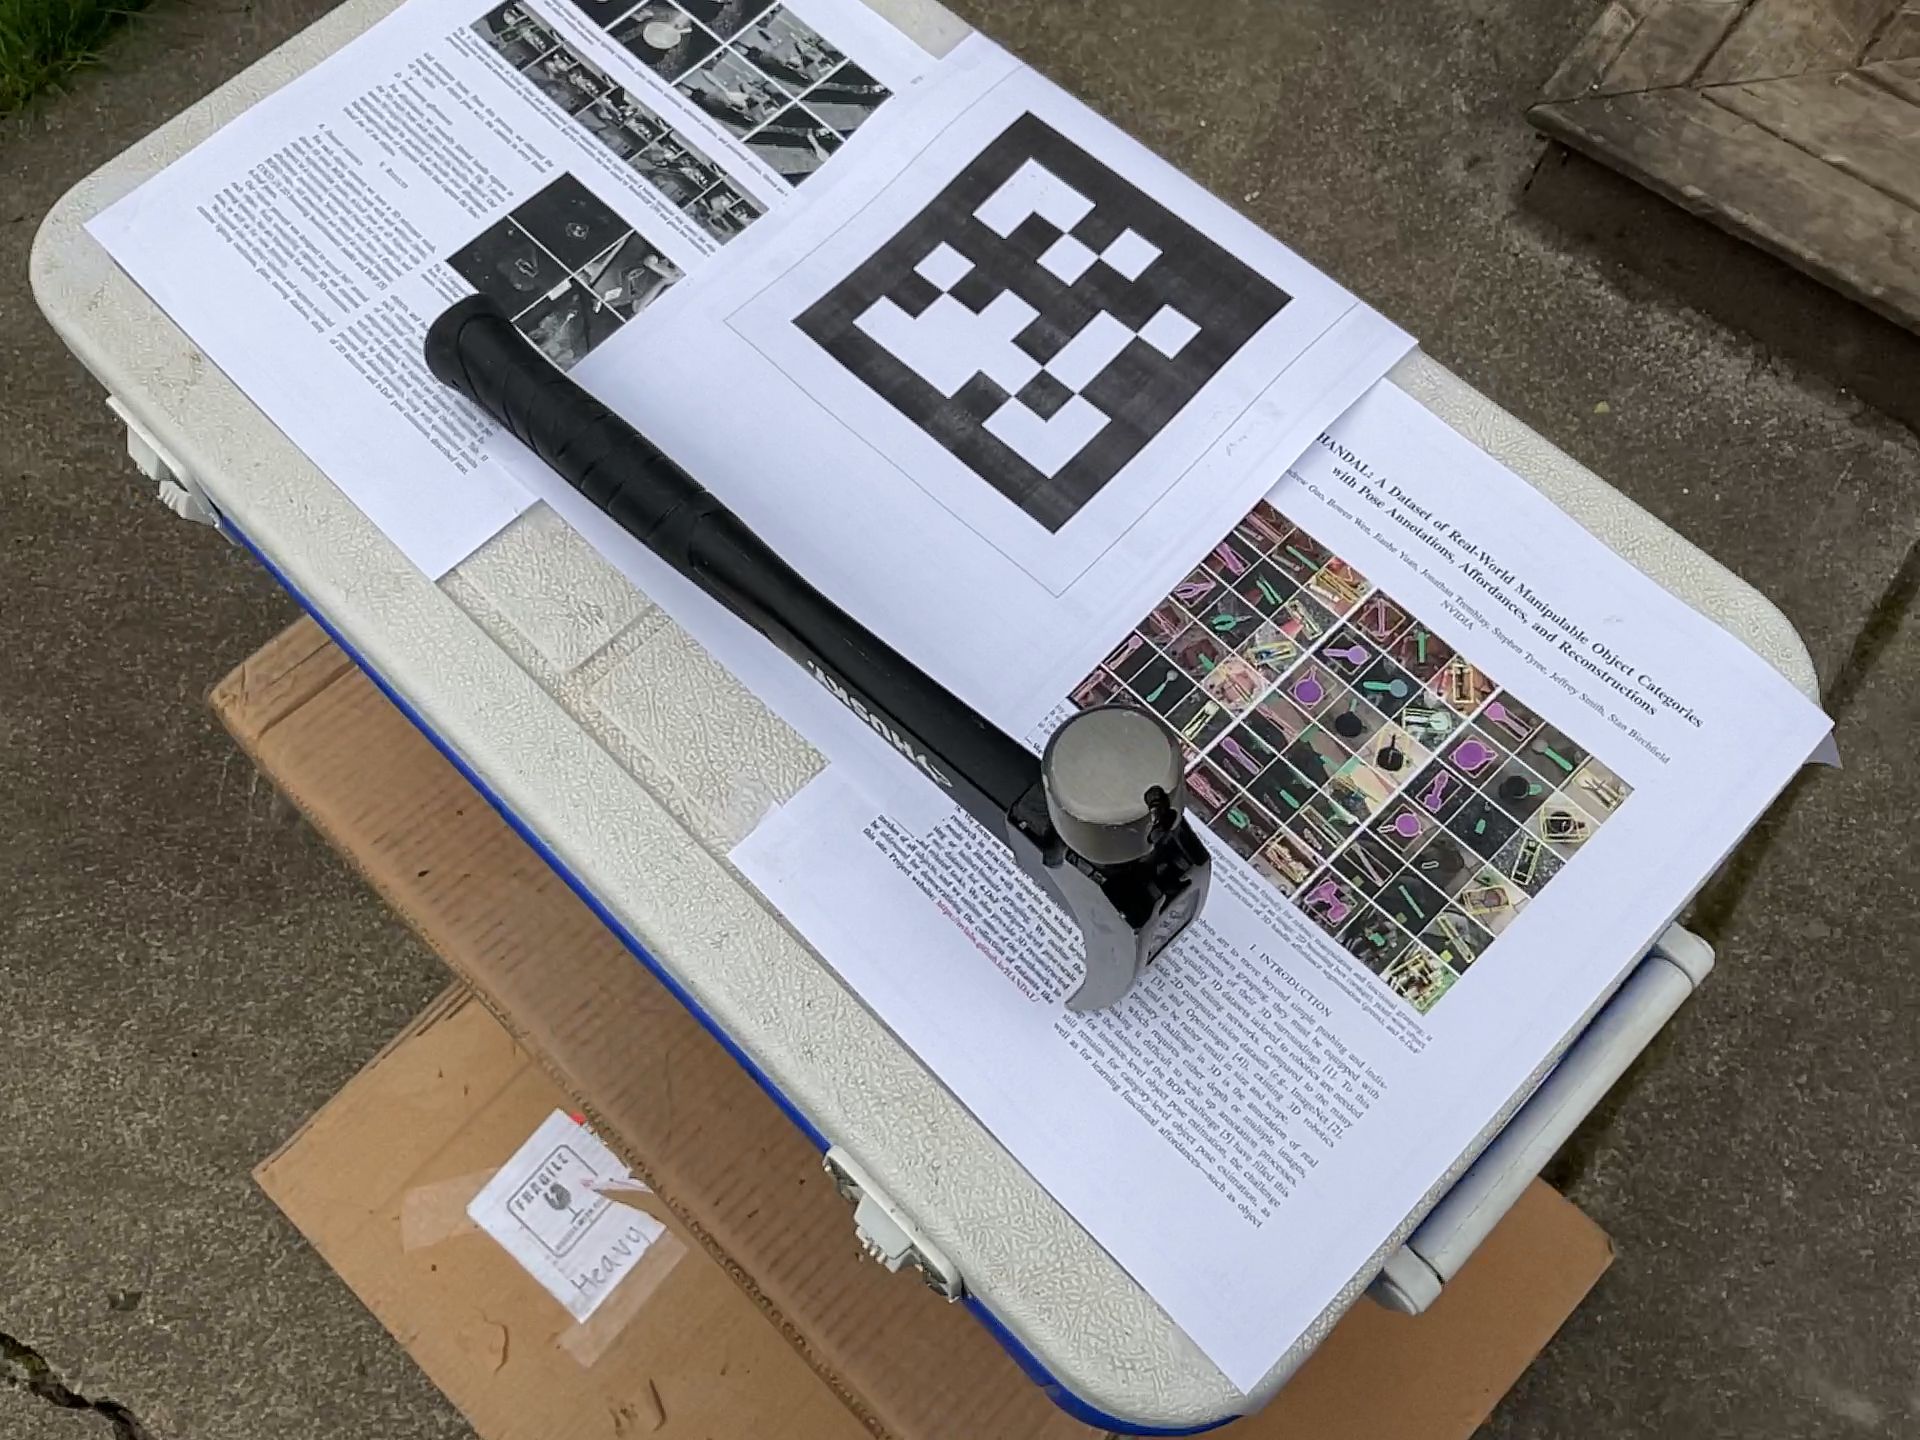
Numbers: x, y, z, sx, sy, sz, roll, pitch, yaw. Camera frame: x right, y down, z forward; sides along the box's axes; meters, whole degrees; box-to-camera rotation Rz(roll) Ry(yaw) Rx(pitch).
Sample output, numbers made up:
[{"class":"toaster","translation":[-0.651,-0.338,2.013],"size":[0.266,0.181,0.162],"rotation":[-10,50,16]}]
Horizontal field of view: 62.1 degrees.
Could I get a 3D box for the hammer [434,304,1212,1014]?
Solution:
[{"class":"hammer","translation":[-0.059,-0.036,0.489],"size":[0.035,0.146,0.335],"rotation":[-42,61,-17]}]
